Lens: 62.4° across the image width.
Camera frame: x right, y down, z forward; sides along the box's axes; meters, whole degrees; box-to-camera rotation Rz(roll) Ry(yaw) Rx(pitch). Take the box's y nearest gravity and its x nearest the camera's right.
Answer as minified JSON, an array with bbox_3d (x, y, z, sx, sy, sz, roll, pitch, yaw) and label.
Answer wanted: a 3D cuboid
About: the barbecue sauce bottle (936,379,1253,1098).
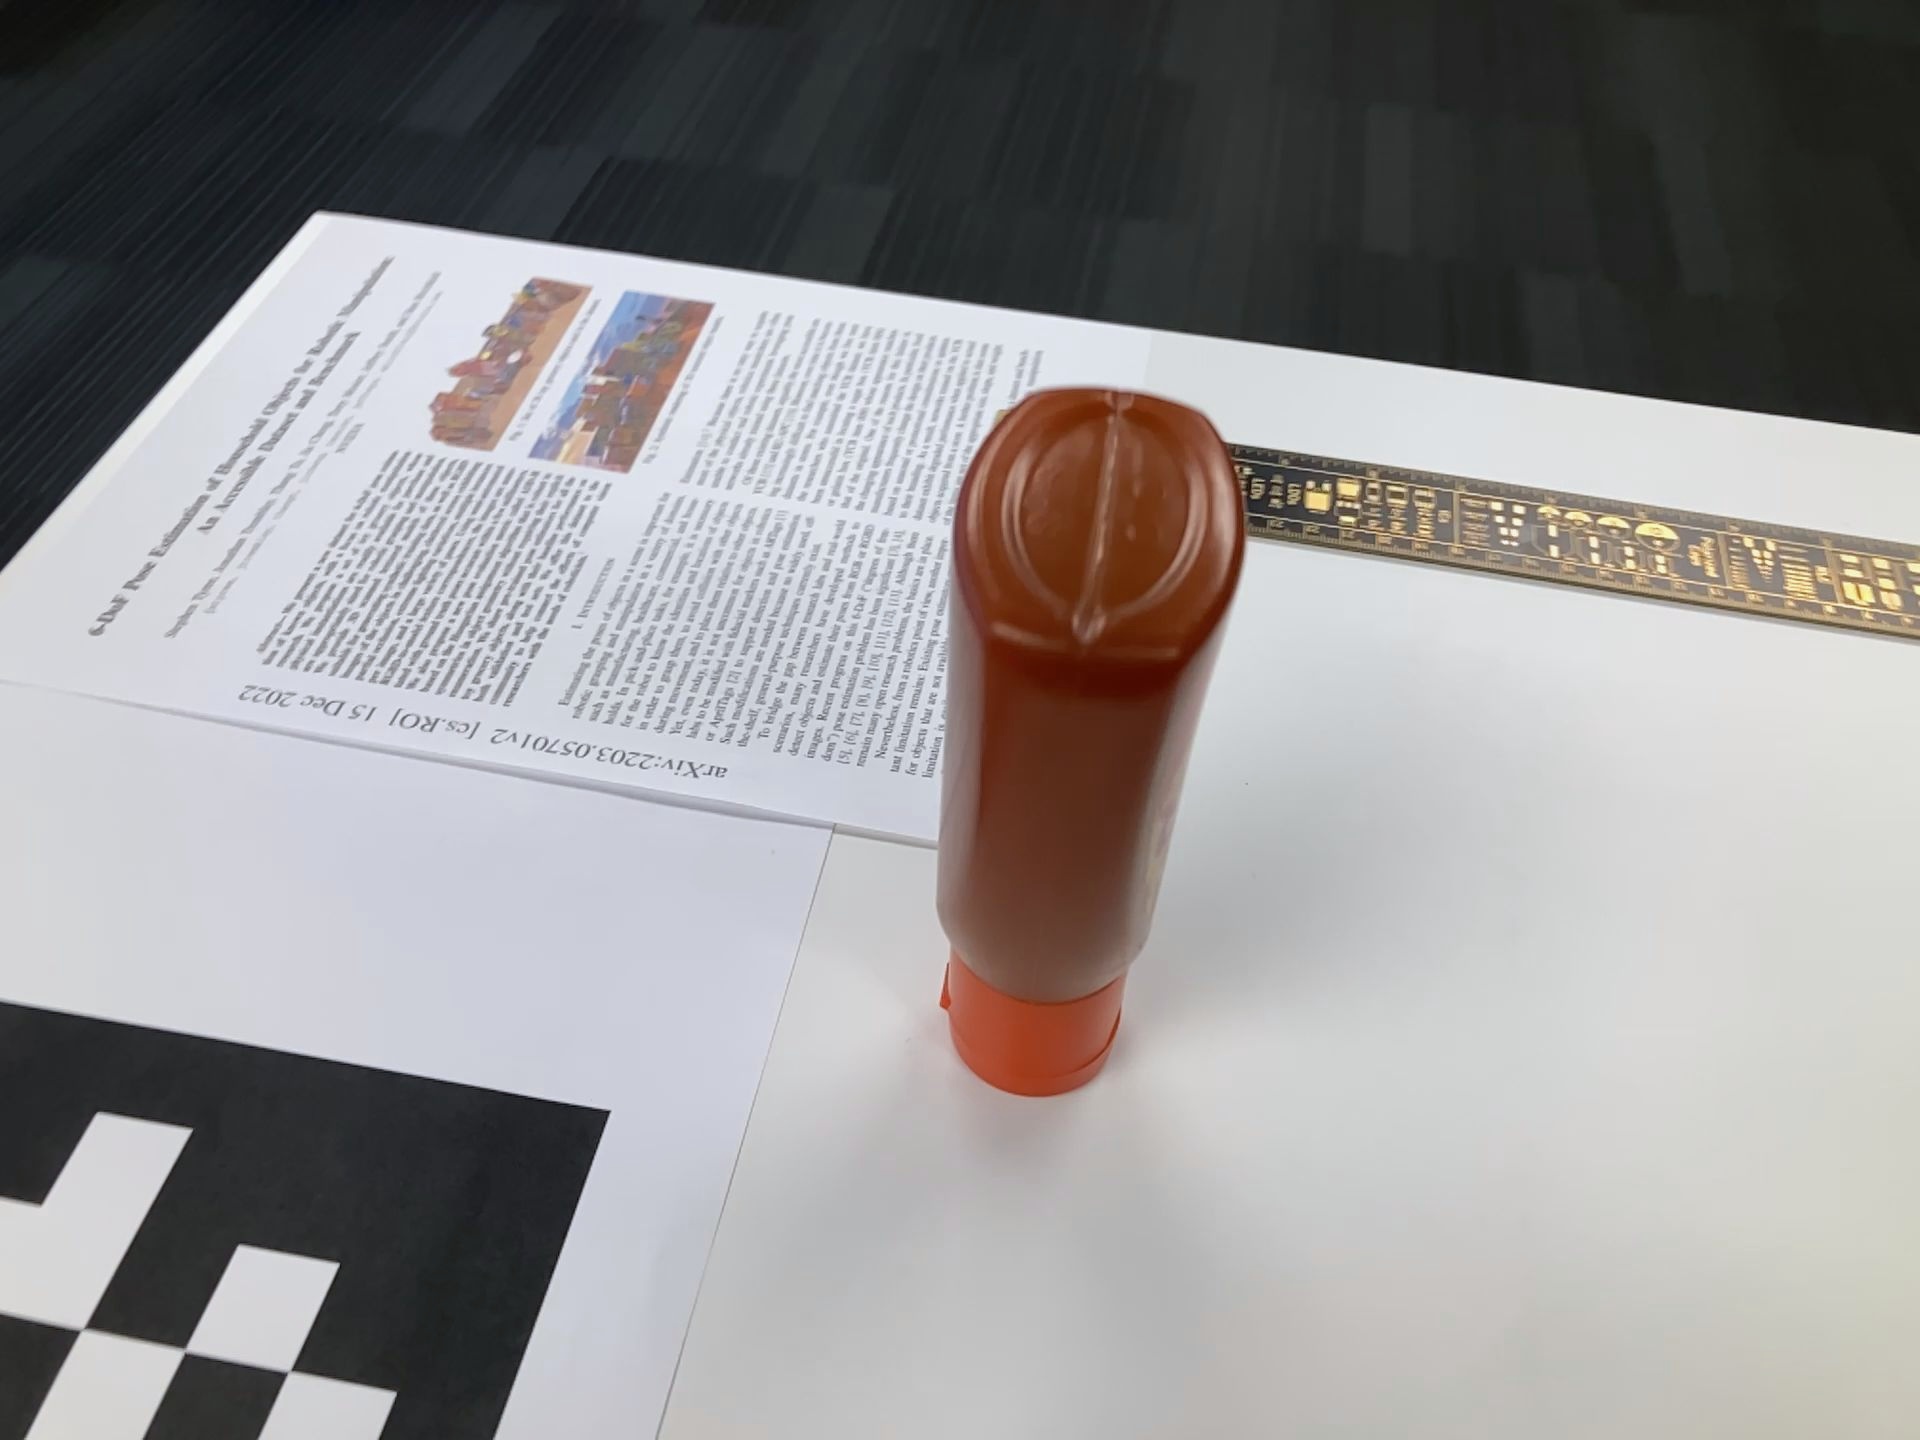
[{"bbox_3d":[0.018,0.016,0.285,0.043,0.148,0.065,8,48,4],"label":"barbecue sauce bottle"}]
